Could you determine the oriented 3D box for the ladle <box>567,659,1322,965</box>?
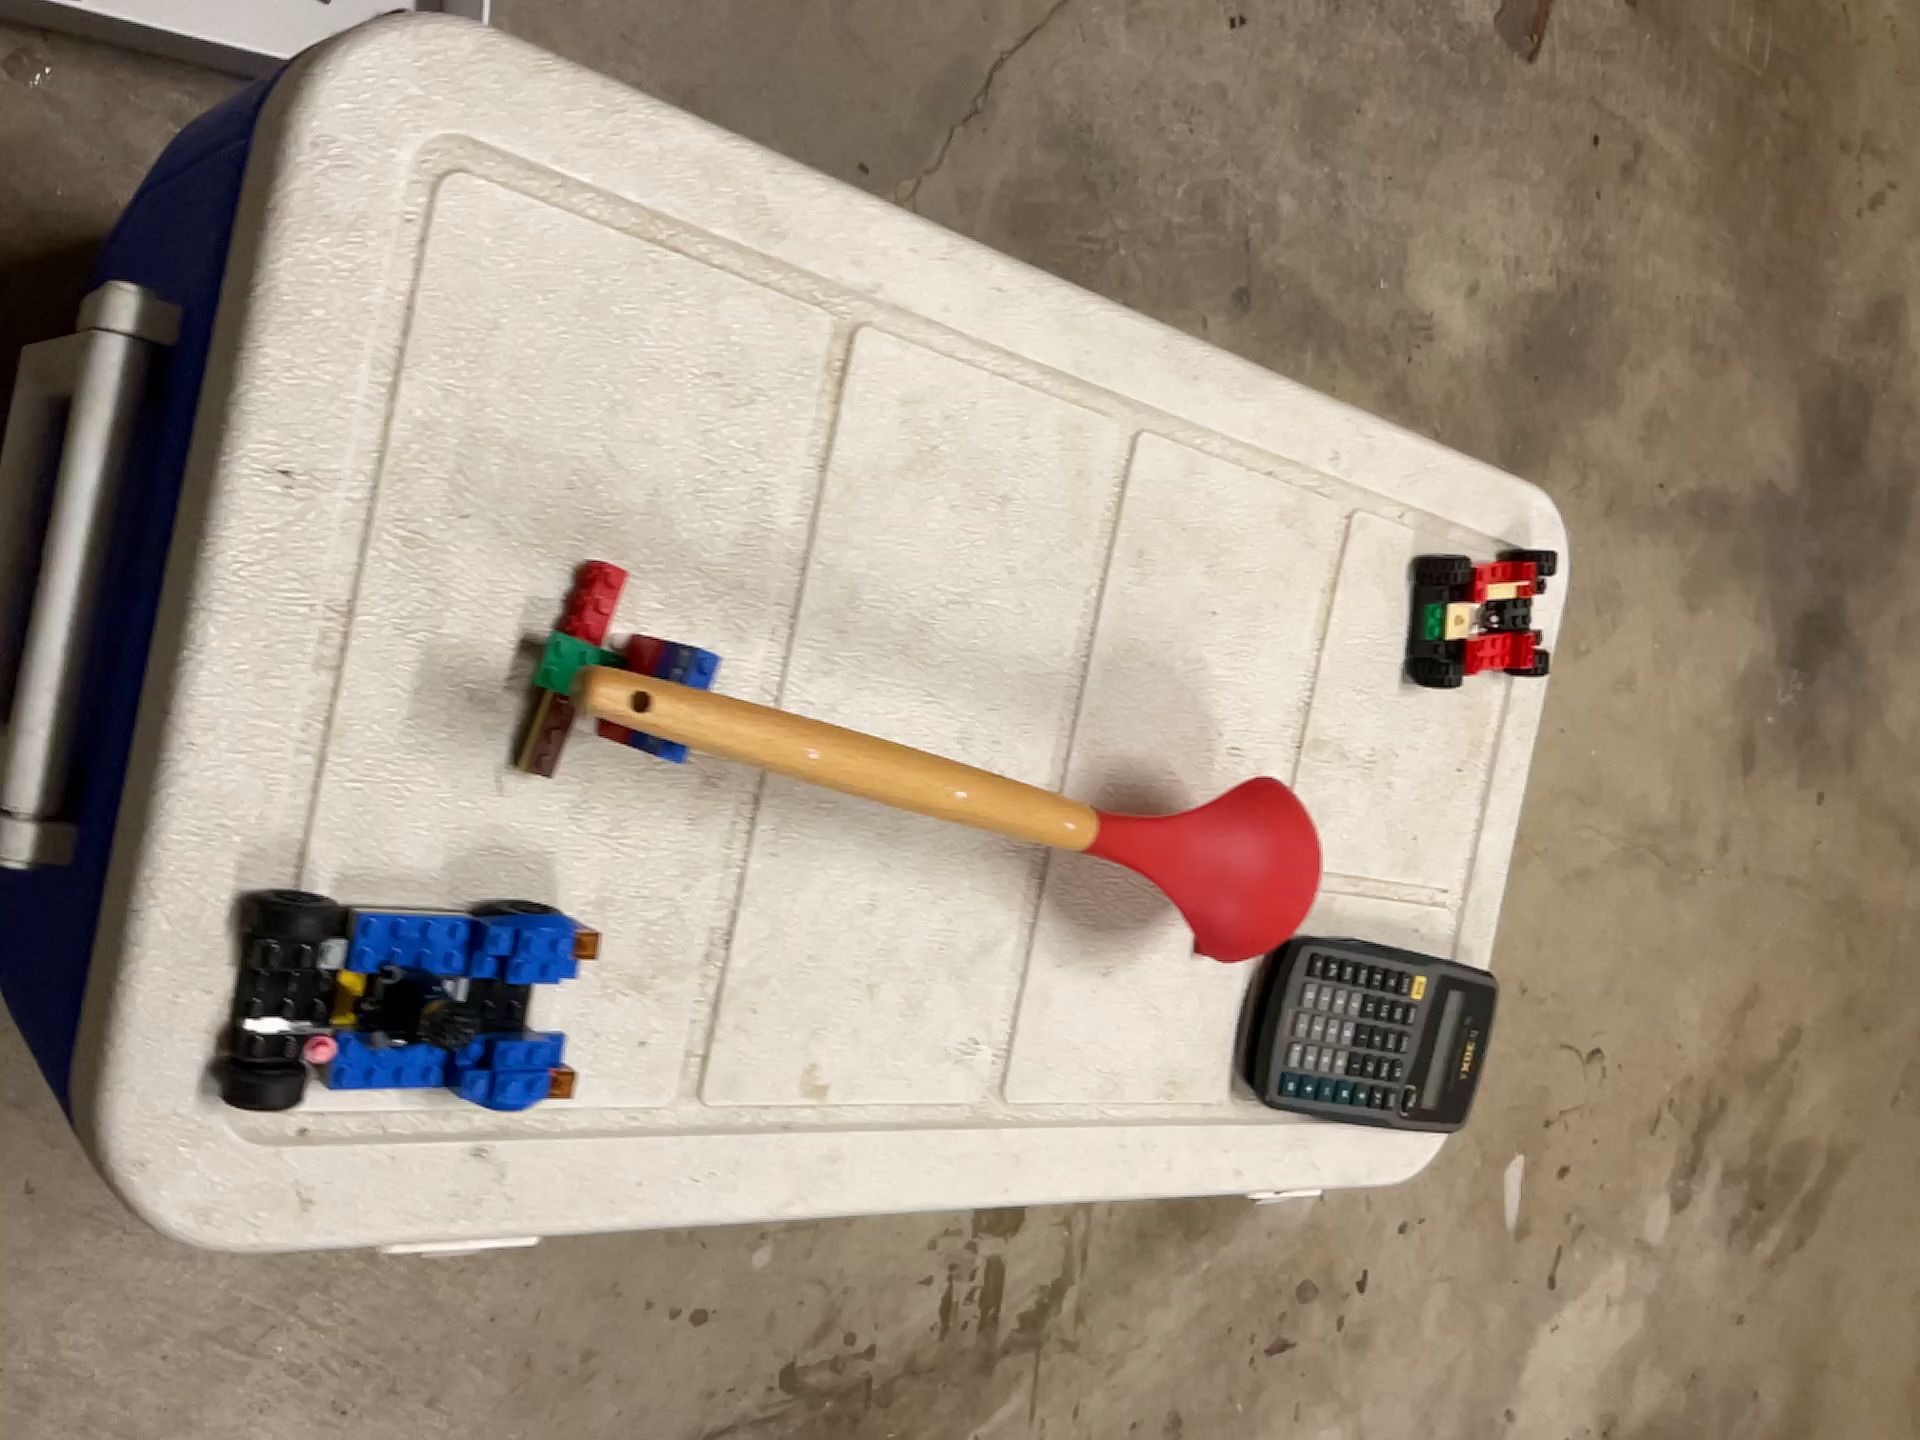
[{"bbox_3d":[0.020,0.027,0.502,0.315,0.031,0.069,18,87,-39],"label":"ladle"}]
